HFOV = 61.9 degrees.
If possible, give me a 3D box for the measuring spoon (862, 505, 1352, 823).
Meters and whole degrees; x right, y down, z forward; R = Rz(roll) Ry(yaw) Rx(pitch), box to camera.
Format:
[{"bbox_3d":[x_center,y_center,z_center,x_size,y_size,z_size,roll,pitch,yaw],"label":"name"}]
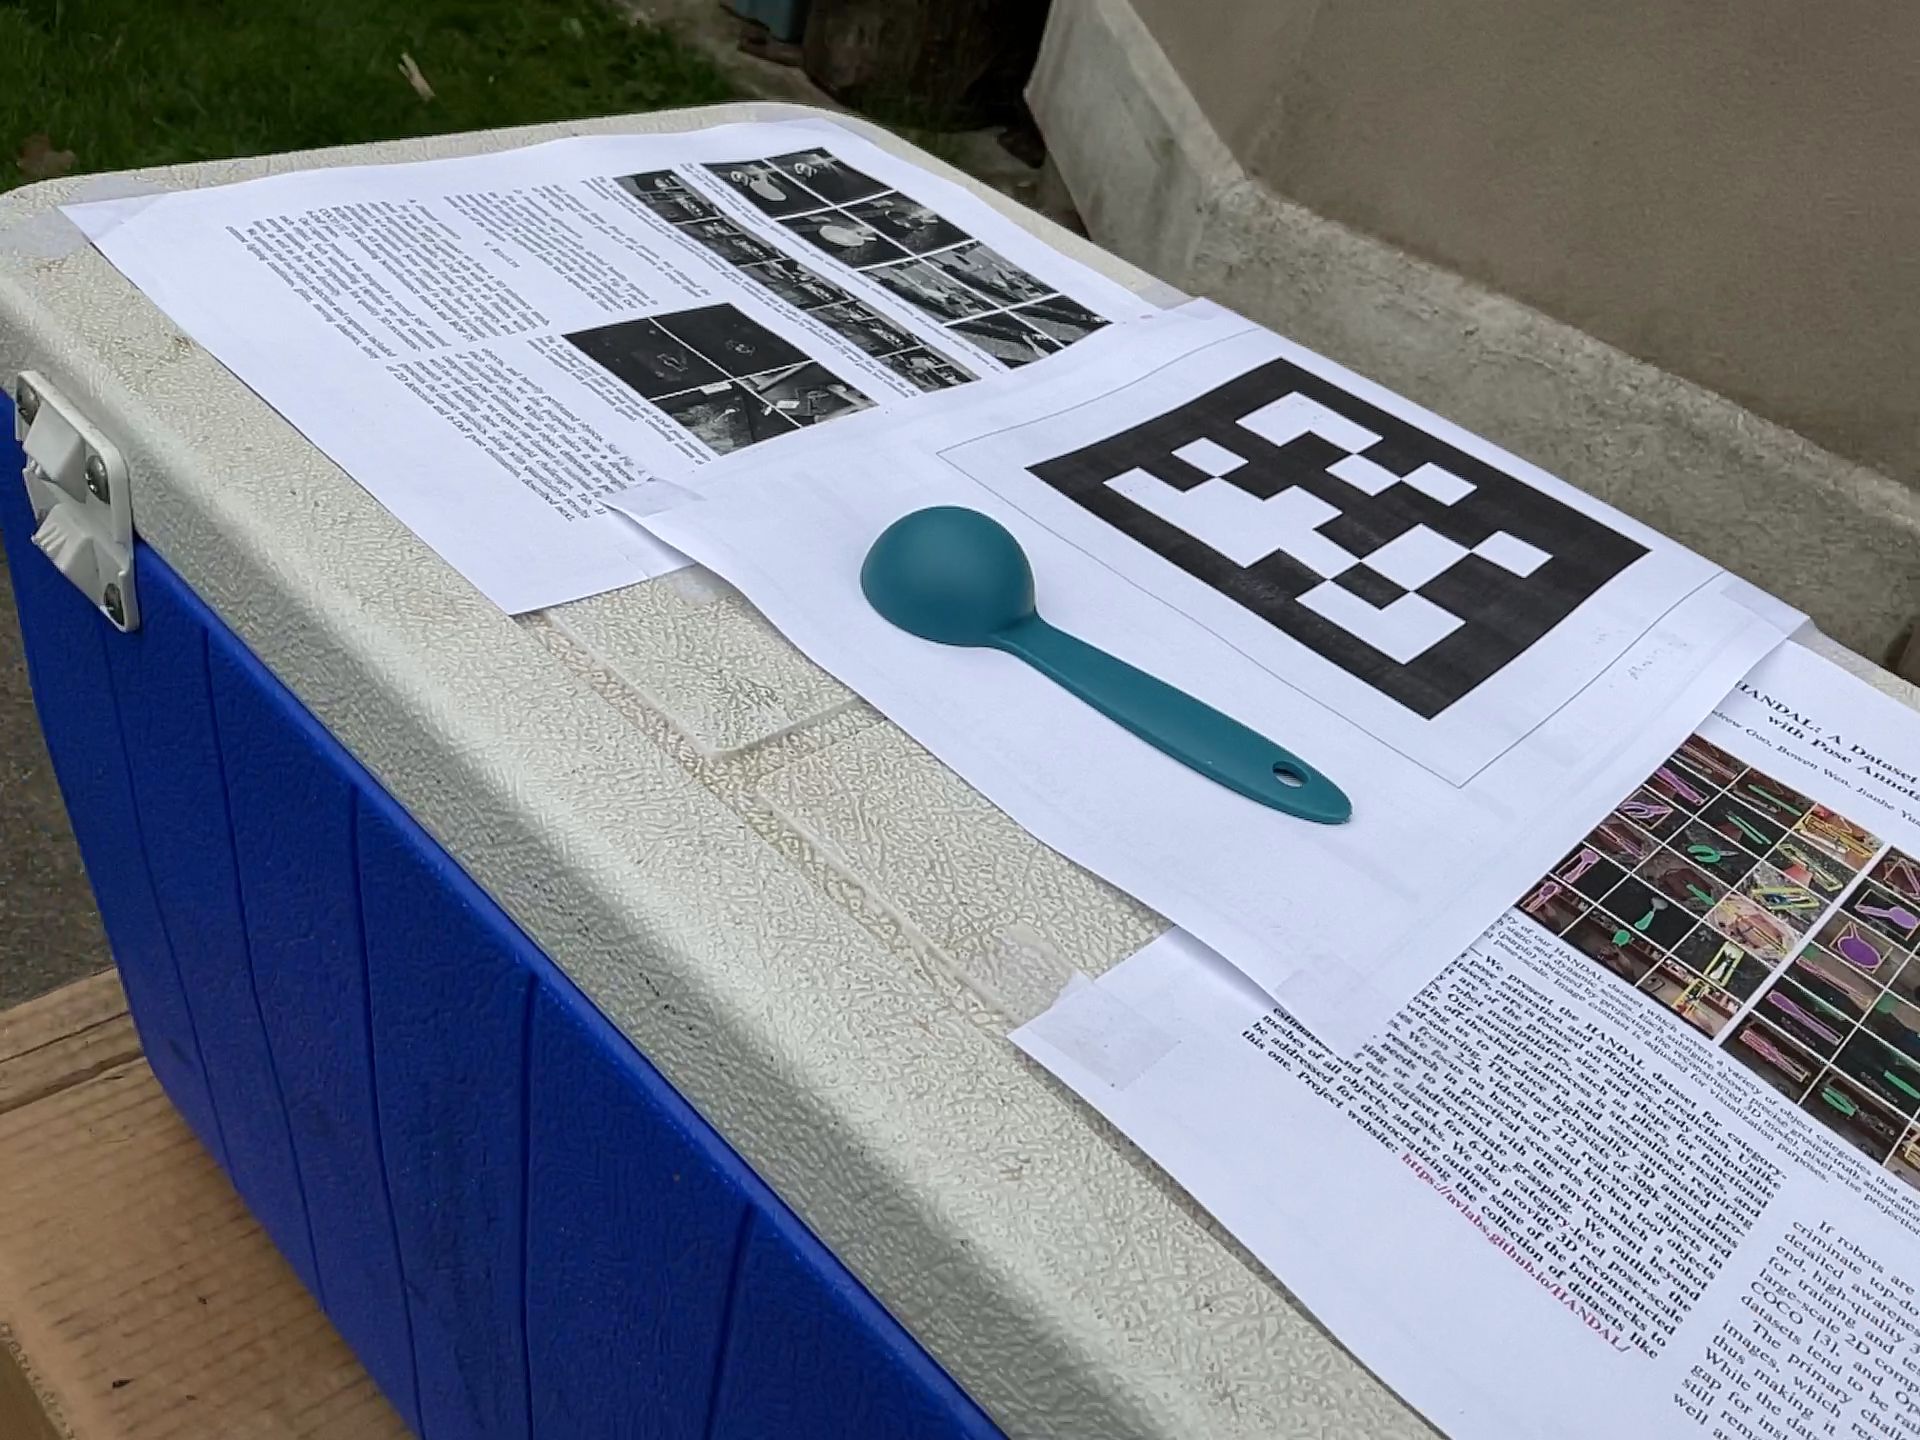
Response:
[{"bbox_3d":[0.034,-0.017,0.361,0.129,0.021,0.042,31,35,21],"label":"measuring spoon"}]
